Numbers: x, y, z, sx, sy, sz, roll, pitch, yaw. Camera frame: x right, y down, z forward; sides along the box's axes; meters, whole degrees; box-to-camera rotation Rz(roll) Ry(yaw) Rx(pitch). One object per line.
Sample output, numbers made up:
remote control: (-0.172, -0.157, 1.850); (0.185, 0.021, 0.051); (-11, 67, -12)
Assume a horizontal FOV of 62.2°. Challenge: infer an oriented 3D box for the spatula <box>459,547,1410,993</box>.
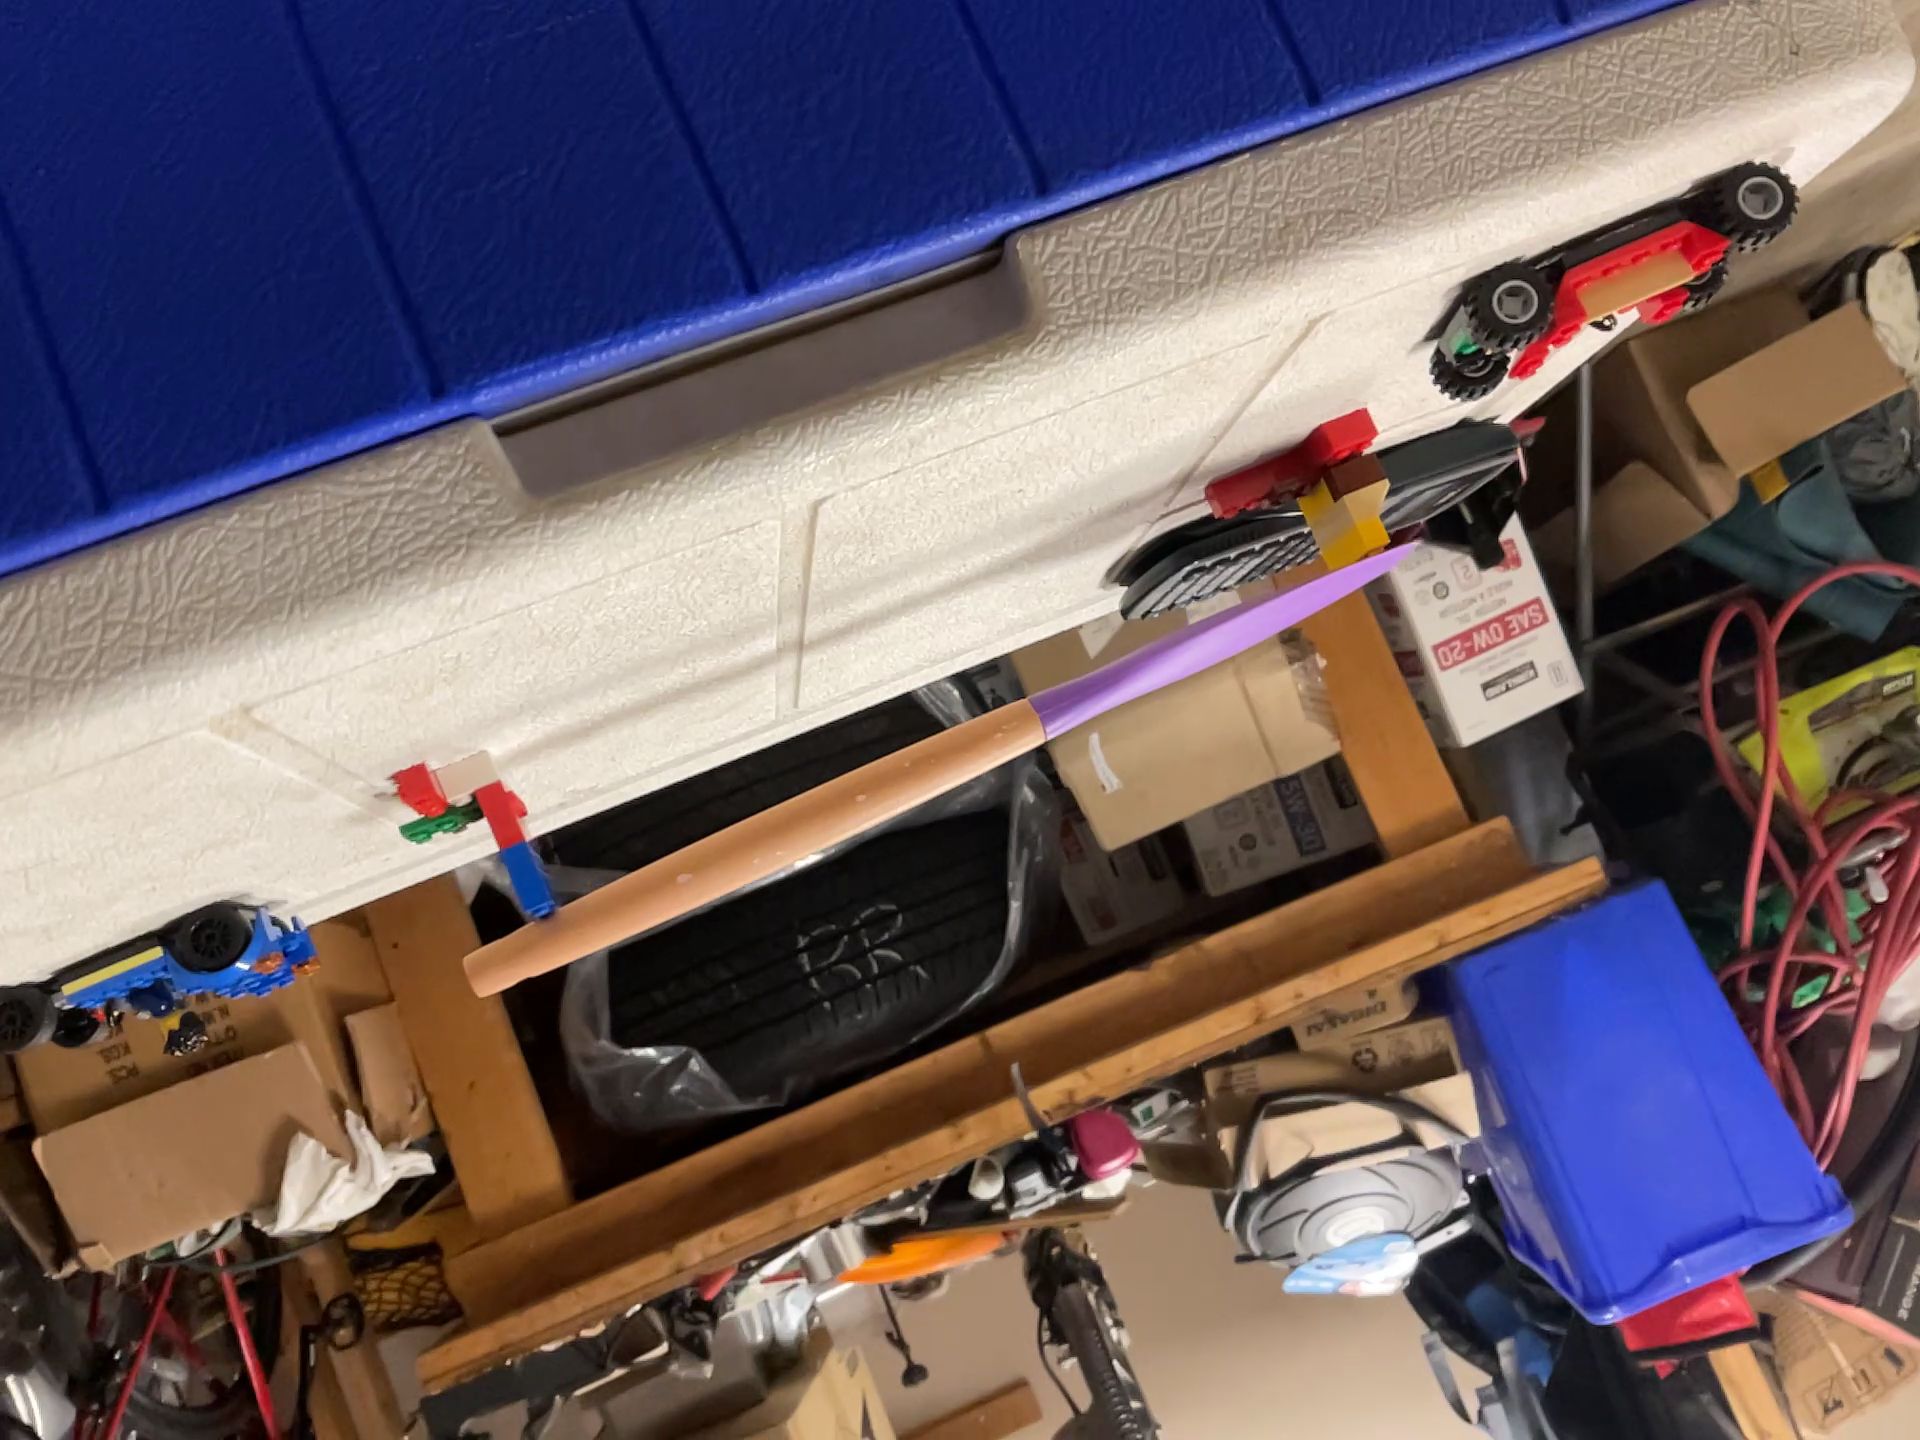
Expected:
spatula: (-0.001, 0.010, 0.488); (0.316, 0.018, 0.059); (-24, 174, -9)
